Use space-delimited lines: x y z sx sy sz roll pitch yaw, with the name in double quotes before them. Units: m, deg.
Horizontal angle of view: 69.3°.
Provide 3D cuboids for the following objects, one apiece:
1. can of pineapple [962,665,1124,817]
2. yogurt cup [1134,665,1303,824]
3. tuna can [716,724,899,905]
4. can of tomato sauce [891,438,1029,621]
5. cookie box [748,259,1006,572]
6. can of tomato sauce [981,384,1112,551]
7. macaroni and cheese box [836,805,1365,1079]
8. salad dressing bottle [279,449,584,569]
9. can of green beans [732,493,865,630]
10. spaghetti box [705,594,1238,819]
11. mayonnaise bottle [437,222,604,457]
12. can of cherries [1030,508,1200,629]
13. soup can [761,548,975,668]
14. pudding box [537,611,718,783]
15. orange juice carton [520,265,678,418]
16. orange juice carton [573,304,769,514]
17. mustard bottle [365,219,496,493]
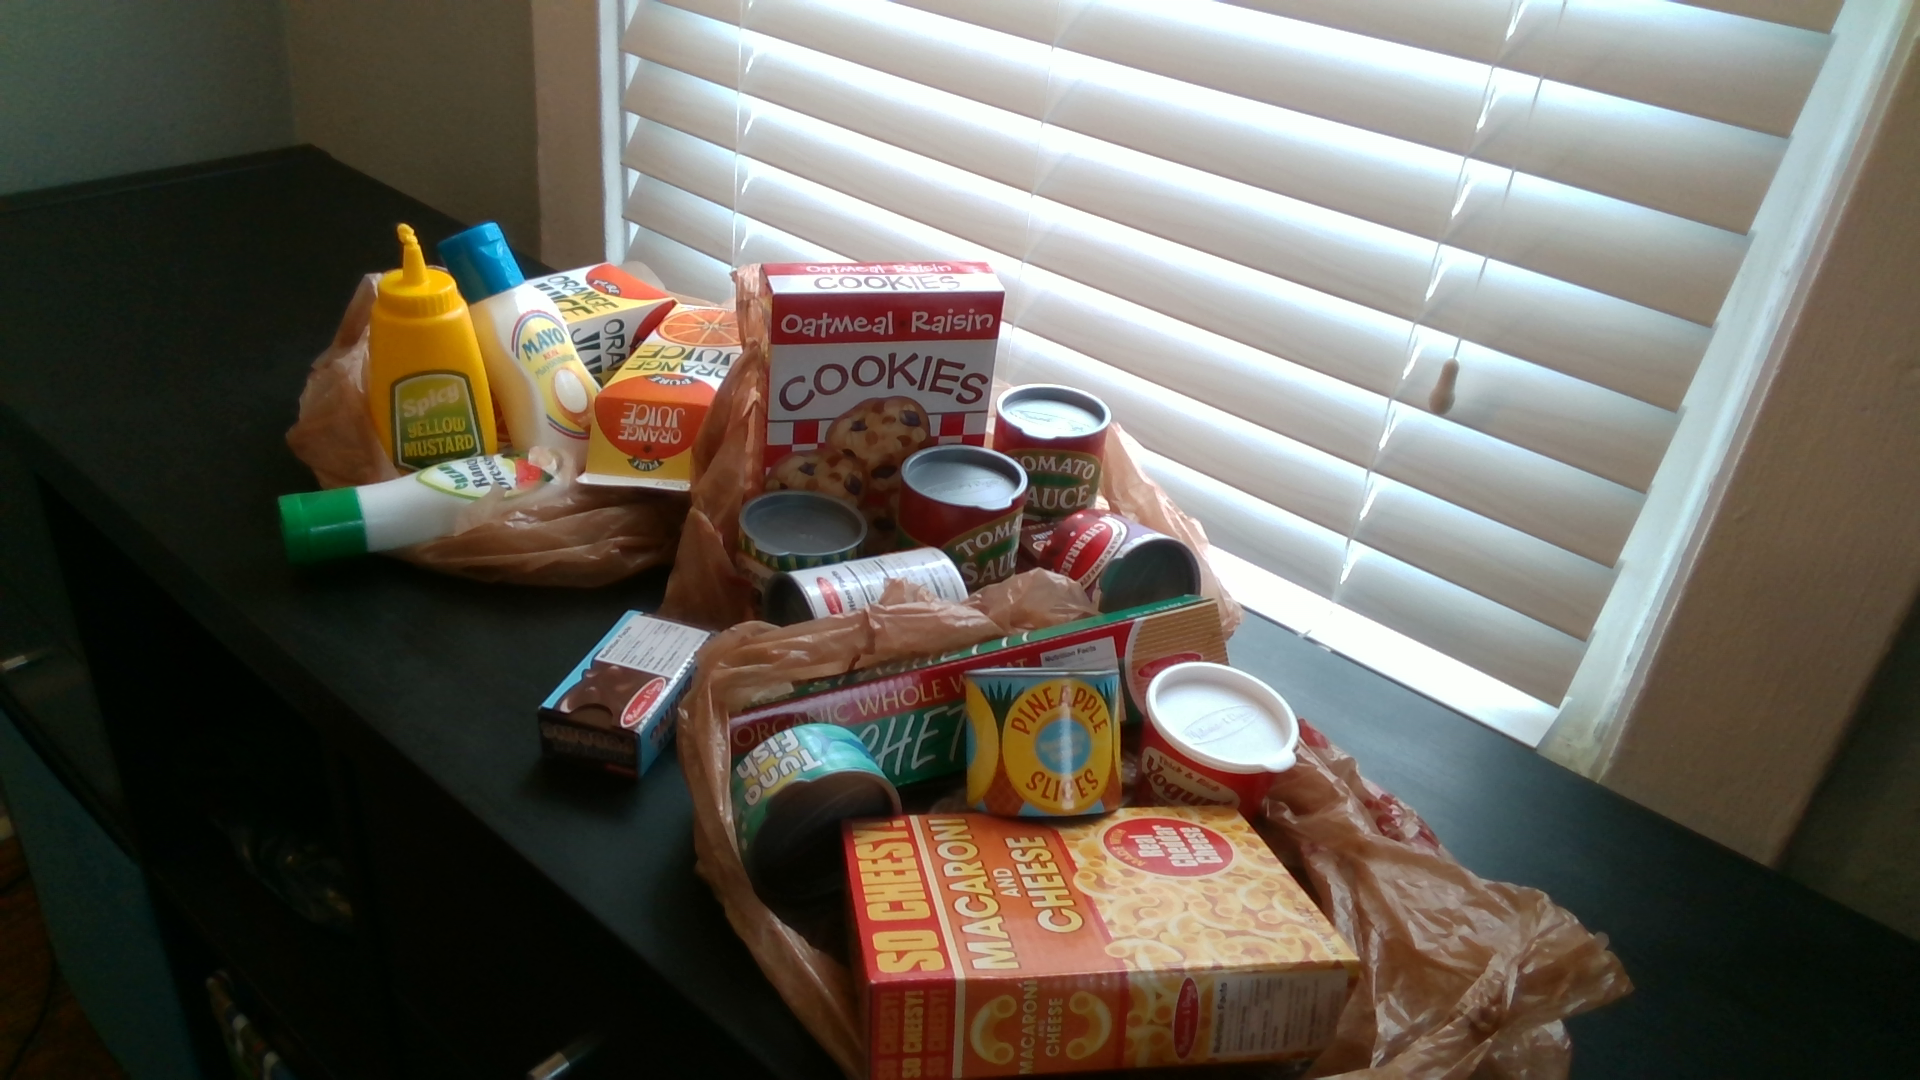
"can of pineapple" 0.035 0.082 0.573 0.071 0.058 0.071 -1 -4 0
"yogurt cup" 0.109 0.095 0.607 0.072 0.053 0.073 10 31 -6
"tuna can" -0.062 0.106 0.549 0.071 0.070 0.033 -14 35 -30
"can of tomato sauce" -0.001 0.000 0.715 0.071 0.082 0.071 5 33 -3
"cookie box" -0.048 -0.065 0.741 0.123 0.166 0.040 -4 33 -19
"can of tomato sauce" 0.047 -0.037 0.789 0.071 0.082 0.071 6 30 -3
"macaroni and cheese box" 0.042 0.142 0.509 0.167 0.040 0.124 0 13 -10
"salad dressing bottle" -0.278 -0.015 0.736 0.148 0.043 0.064 -12 32 -26
"can of green beans" -0.086 0.015 0.716 0.071 0.057 0.071 8 26 -4
"spaghetti box" 0.009 0.072 0.614 0.251 0.050 0.028 -11 5 -20
"mayonnaise bottle" -0.249 -0.107 0.797 0.041 0.147 0.065 -14 18 36
"can of cherries" 0.076 0.020 0.703 0.072 0.071 0.058 -15 22 -31
"soup can" -0.045 0.044 0.661 0.084 0.071 0.071 -9 34 -27
"pudding box" -0.149 0.069 0.633 0.050 0.030 0.084 12 32 11
"orange juice carton" -0.251 -0.124 0.889 0.072 0.072 0.193 29 35 32
"orange juice carton" -0.161 -0.072 0.819 0.072 0.072 0.193 6 29 4
"mustard bottle" -0.290 -0.095 0.750 0.065 0.159 0.049 -12 37 -25
